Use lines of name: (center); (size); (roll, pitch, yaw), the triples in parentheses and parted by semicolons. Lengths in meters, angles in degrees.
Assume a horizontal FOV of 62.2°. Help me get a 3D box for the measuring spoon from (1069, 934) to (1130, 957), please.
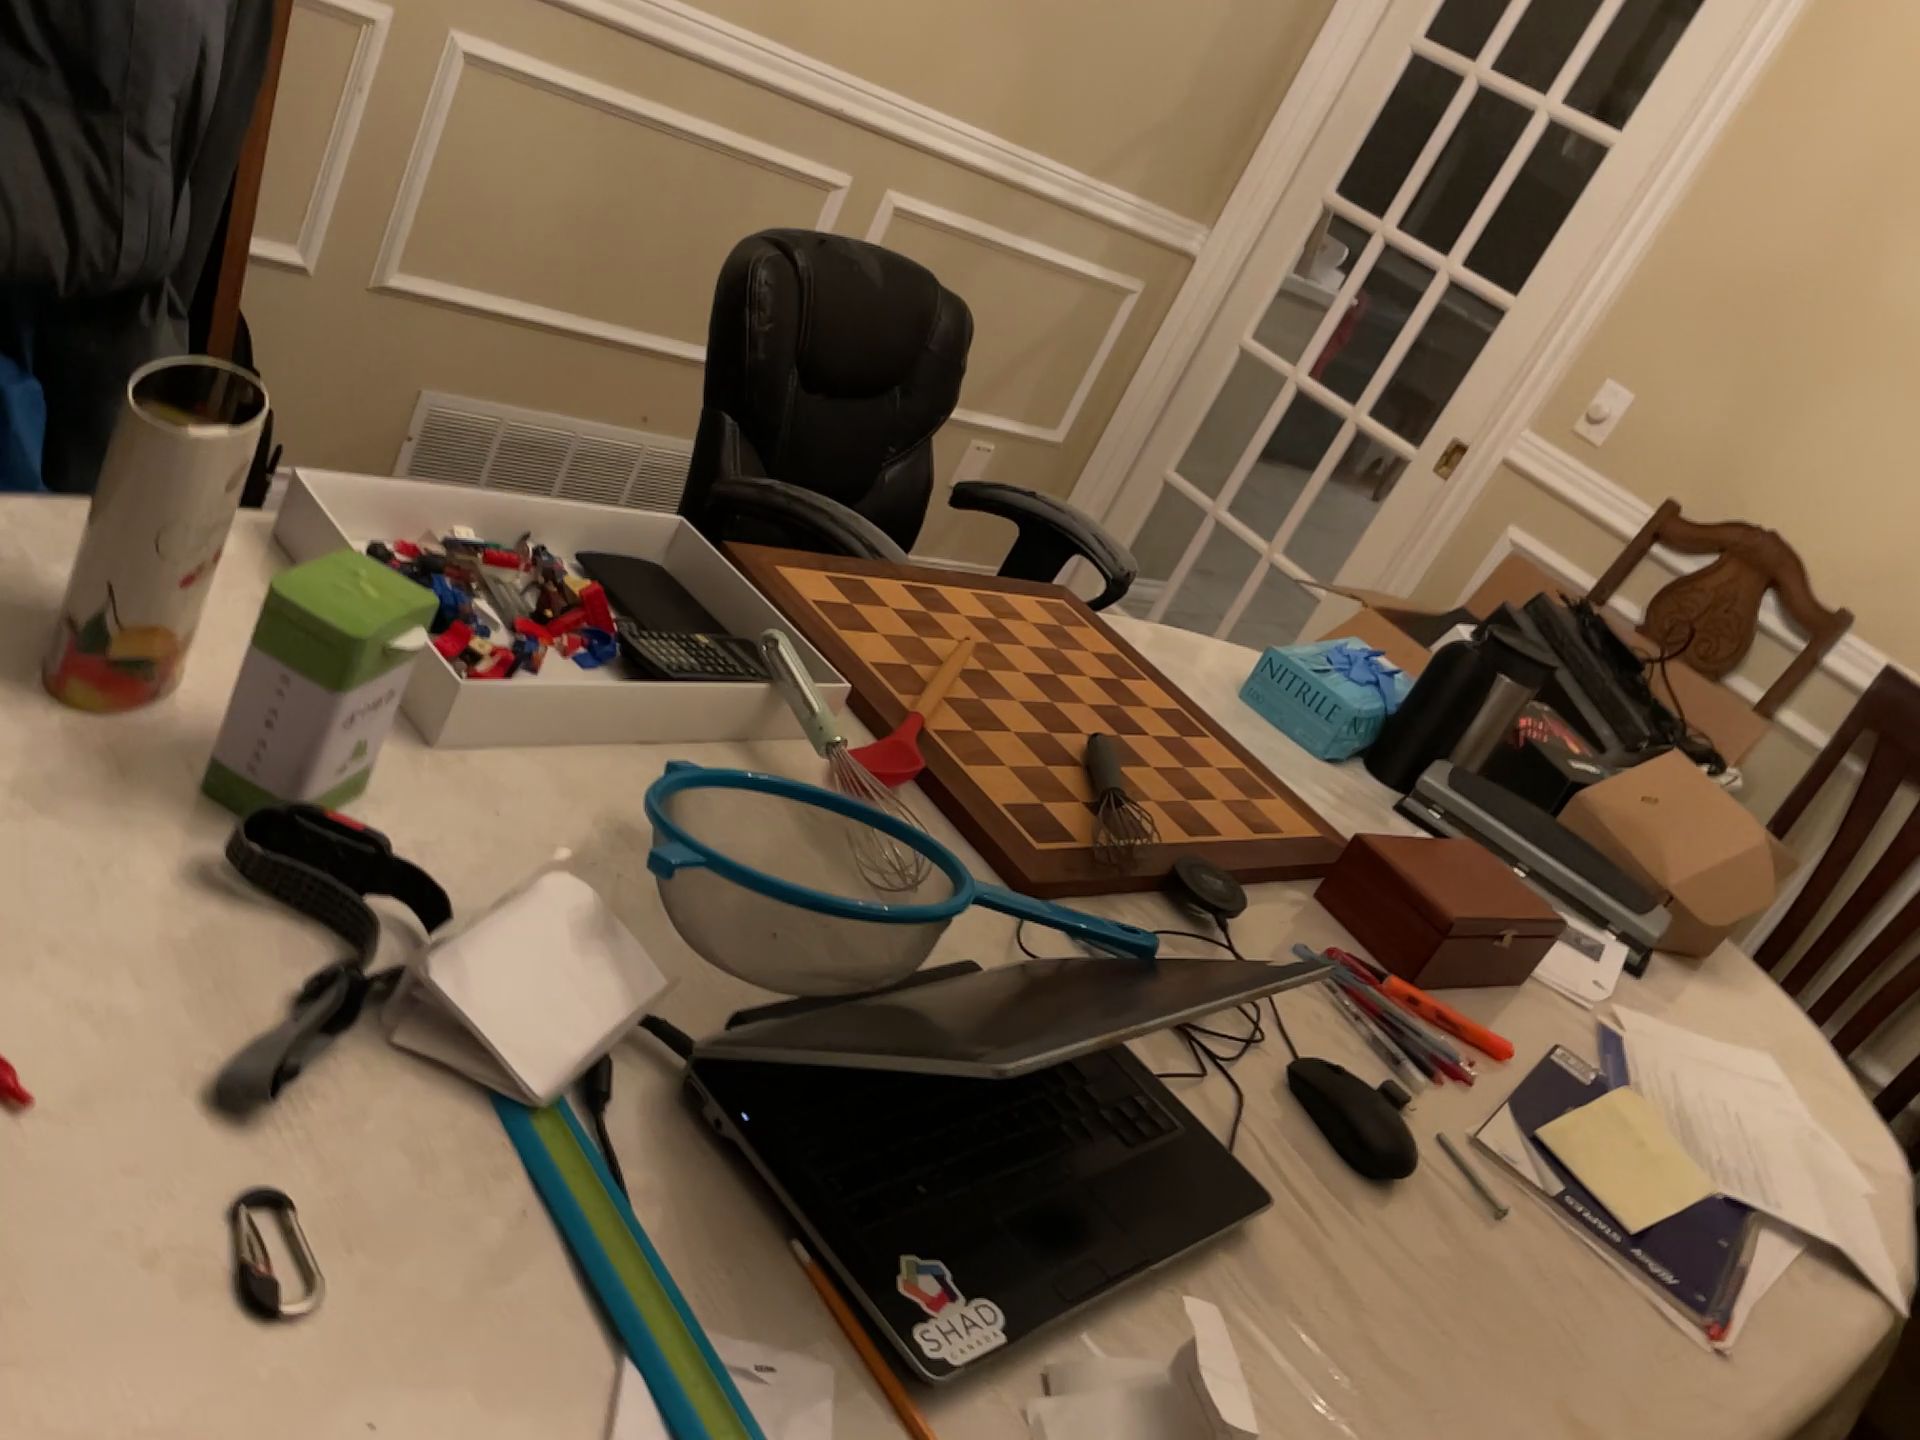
measuring spoon: (0.135, 0.188, 1.184); (0.129, 0.021, 0.042); (22, 13, 16)

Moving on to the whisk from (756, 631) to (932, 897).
whisk: (-0.090, 0.029, 1.167); (0.247, 0.058, 0.059); (57, 4, 25)

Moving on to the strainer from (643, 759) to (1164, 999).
strainer: (-0.042, 0.130, 0.990); (0.340, 0.095, 0.211); (18, 12, -12)

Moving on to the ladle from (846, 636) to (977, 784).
ladle: (-0.031, -0.014, 1.356); (0.069, 0.031, 0.315); (10, 25, 12)

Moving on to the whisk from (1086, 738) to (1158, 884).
whisk: (0.131, 0.069, 1.353); (0.055, 0.055, 0.239); (37, 16, -16)
